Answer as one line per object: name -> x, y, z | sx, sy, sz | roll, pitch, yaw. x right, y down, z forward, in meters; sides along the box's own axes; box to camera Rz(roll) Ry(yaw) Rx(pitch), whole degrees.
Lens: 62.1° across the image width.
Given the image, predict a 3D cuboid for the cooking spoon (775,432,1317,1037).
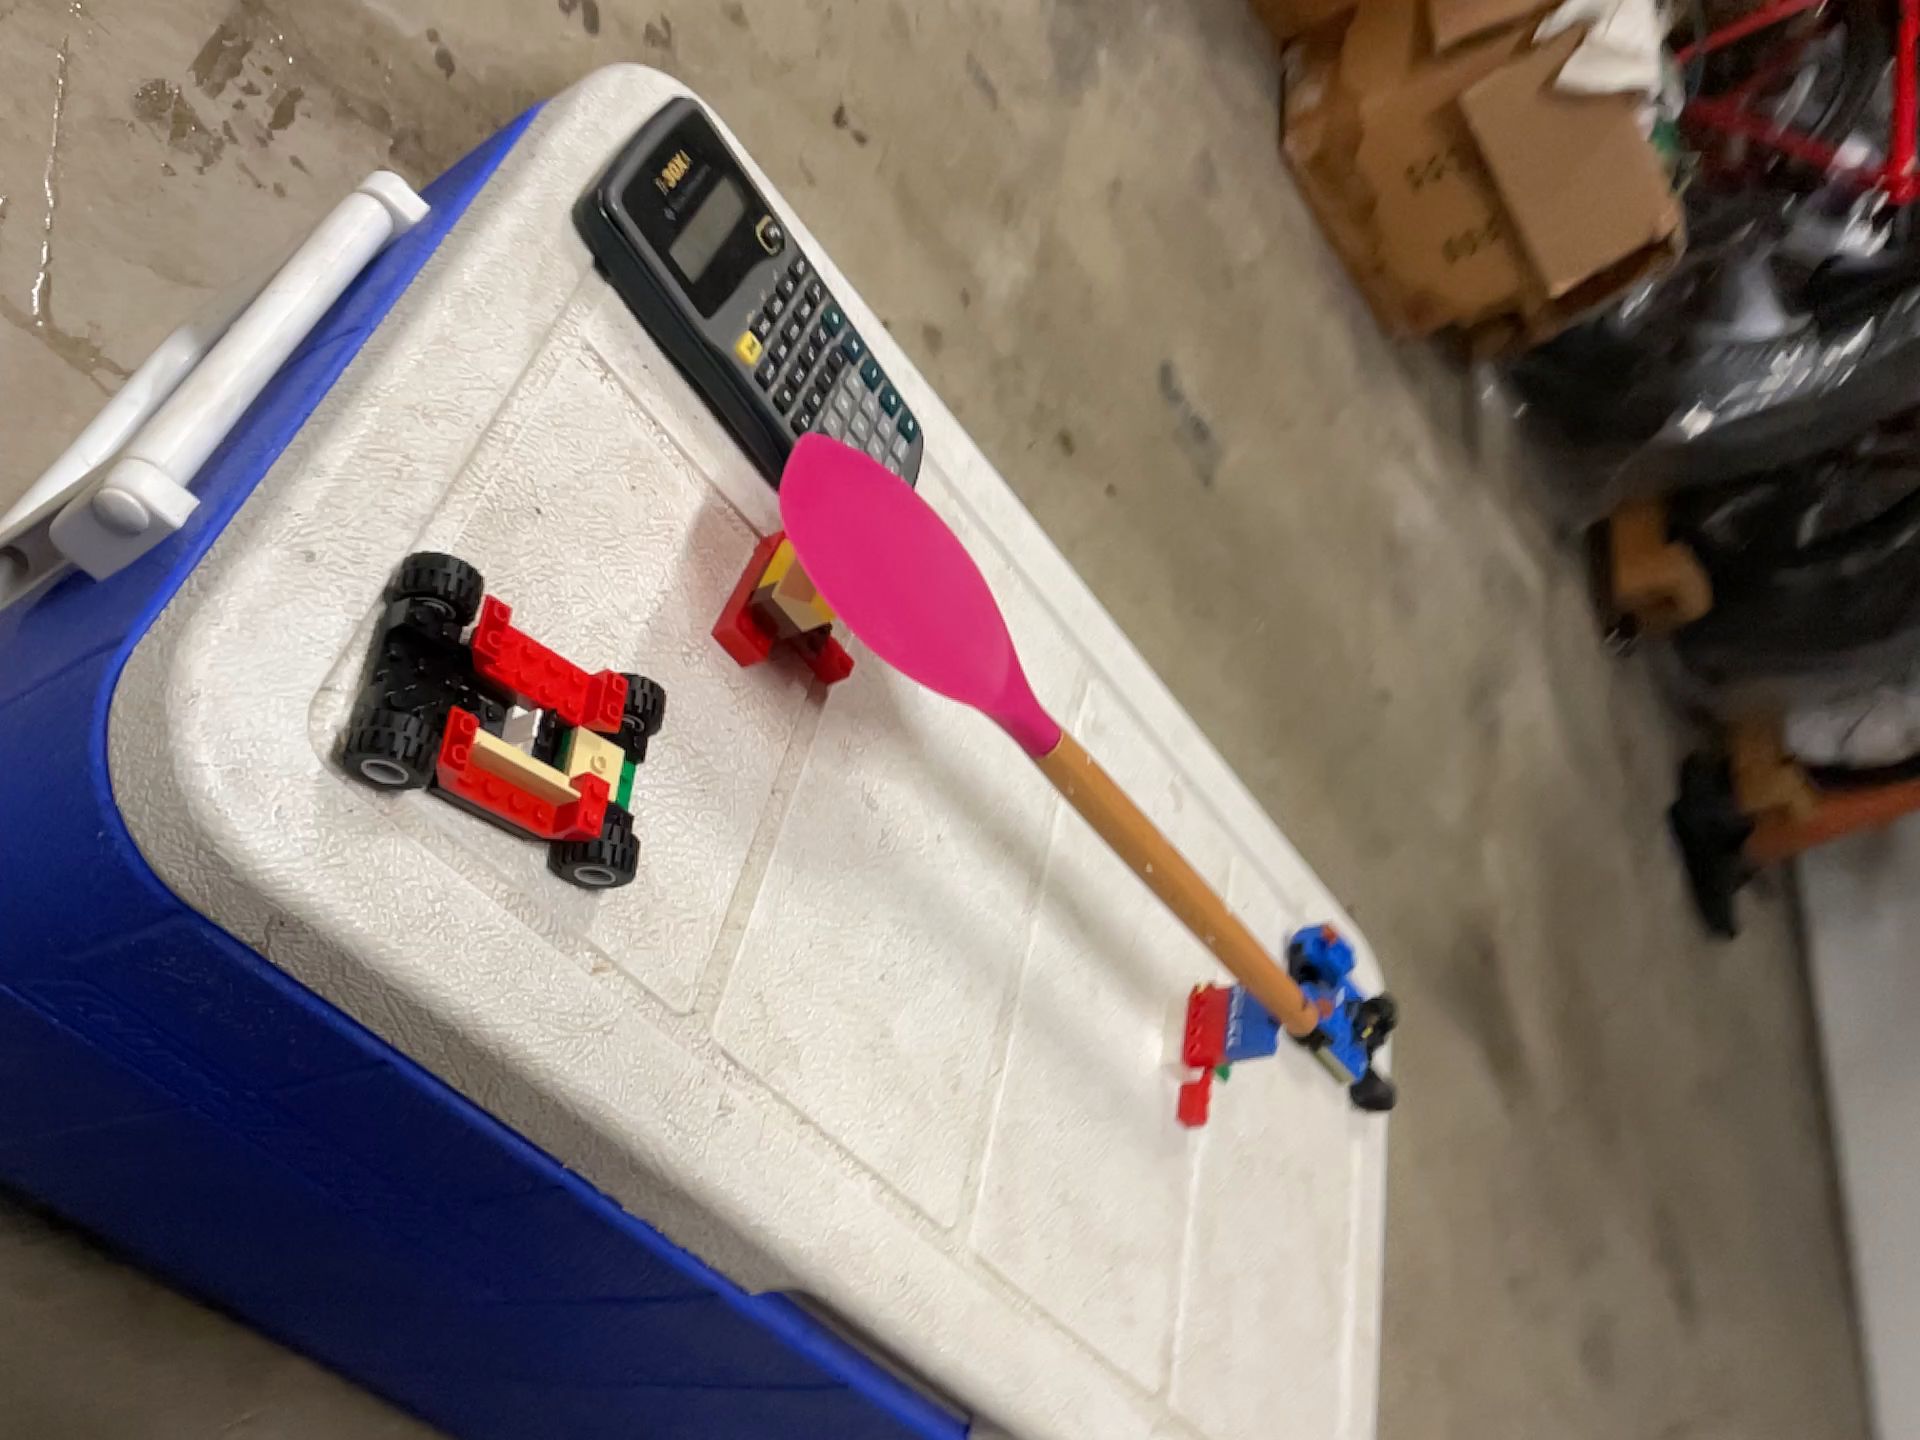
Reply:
cooking spoon -> 0.042, 0.023, 0.547 | 0.318, 0.017, 0.069 | 46, 42, -32
